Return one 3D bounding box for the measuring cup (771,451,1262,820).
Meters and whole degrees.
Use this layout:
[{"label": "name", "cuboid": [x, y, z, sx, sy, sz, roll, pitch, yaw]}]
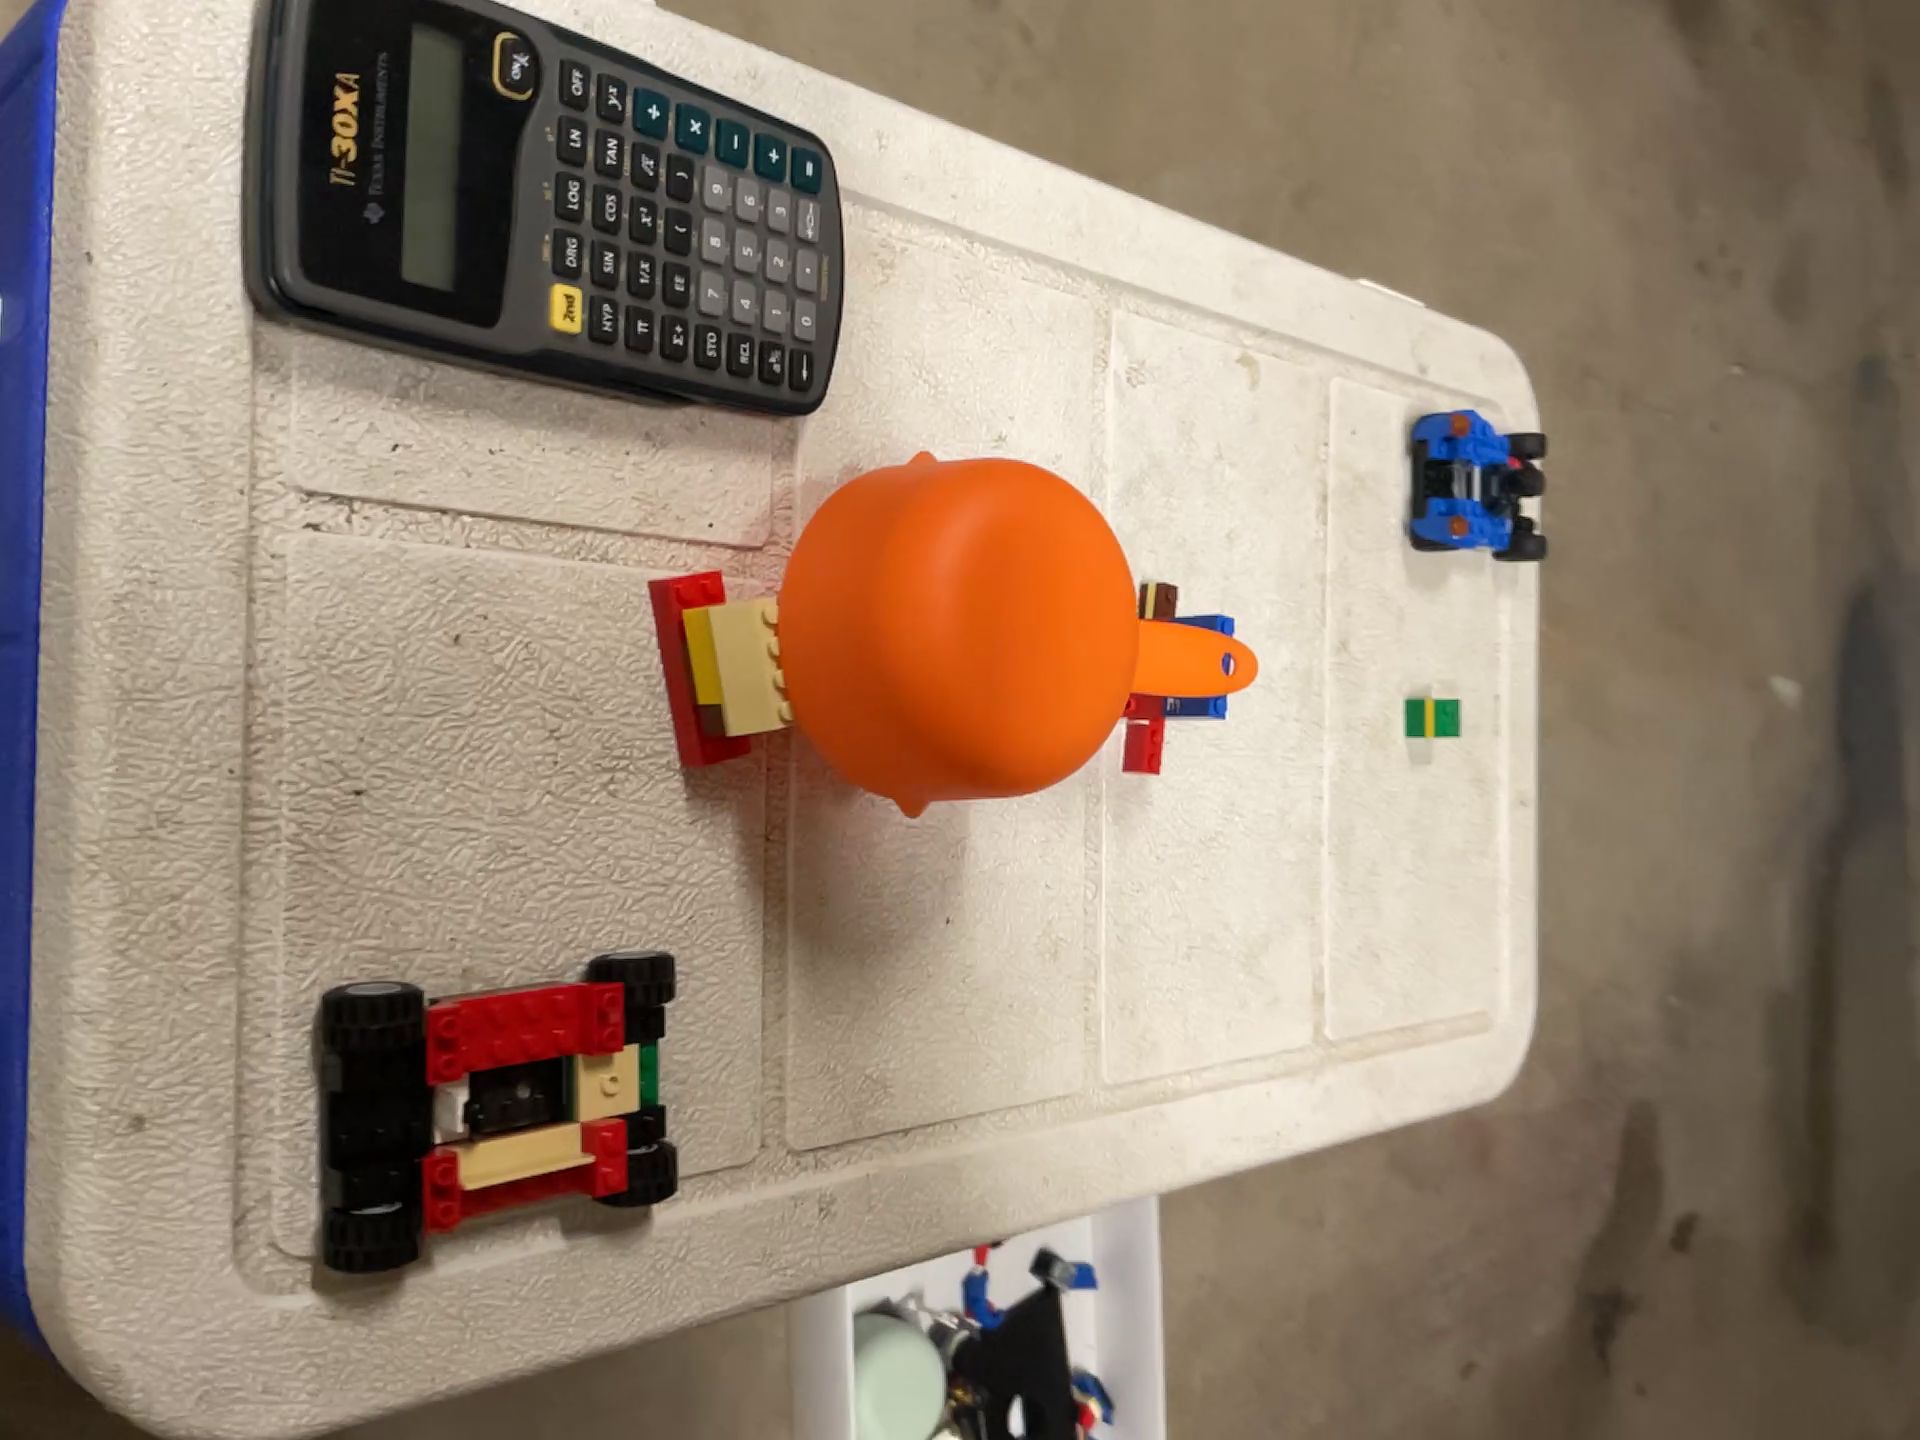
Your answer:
[{"label": "measuring cup", "cuboid": [0.037, -0.020, 0.420, 0.173, 0.052, 0.095, 4, 87, -38]}]
